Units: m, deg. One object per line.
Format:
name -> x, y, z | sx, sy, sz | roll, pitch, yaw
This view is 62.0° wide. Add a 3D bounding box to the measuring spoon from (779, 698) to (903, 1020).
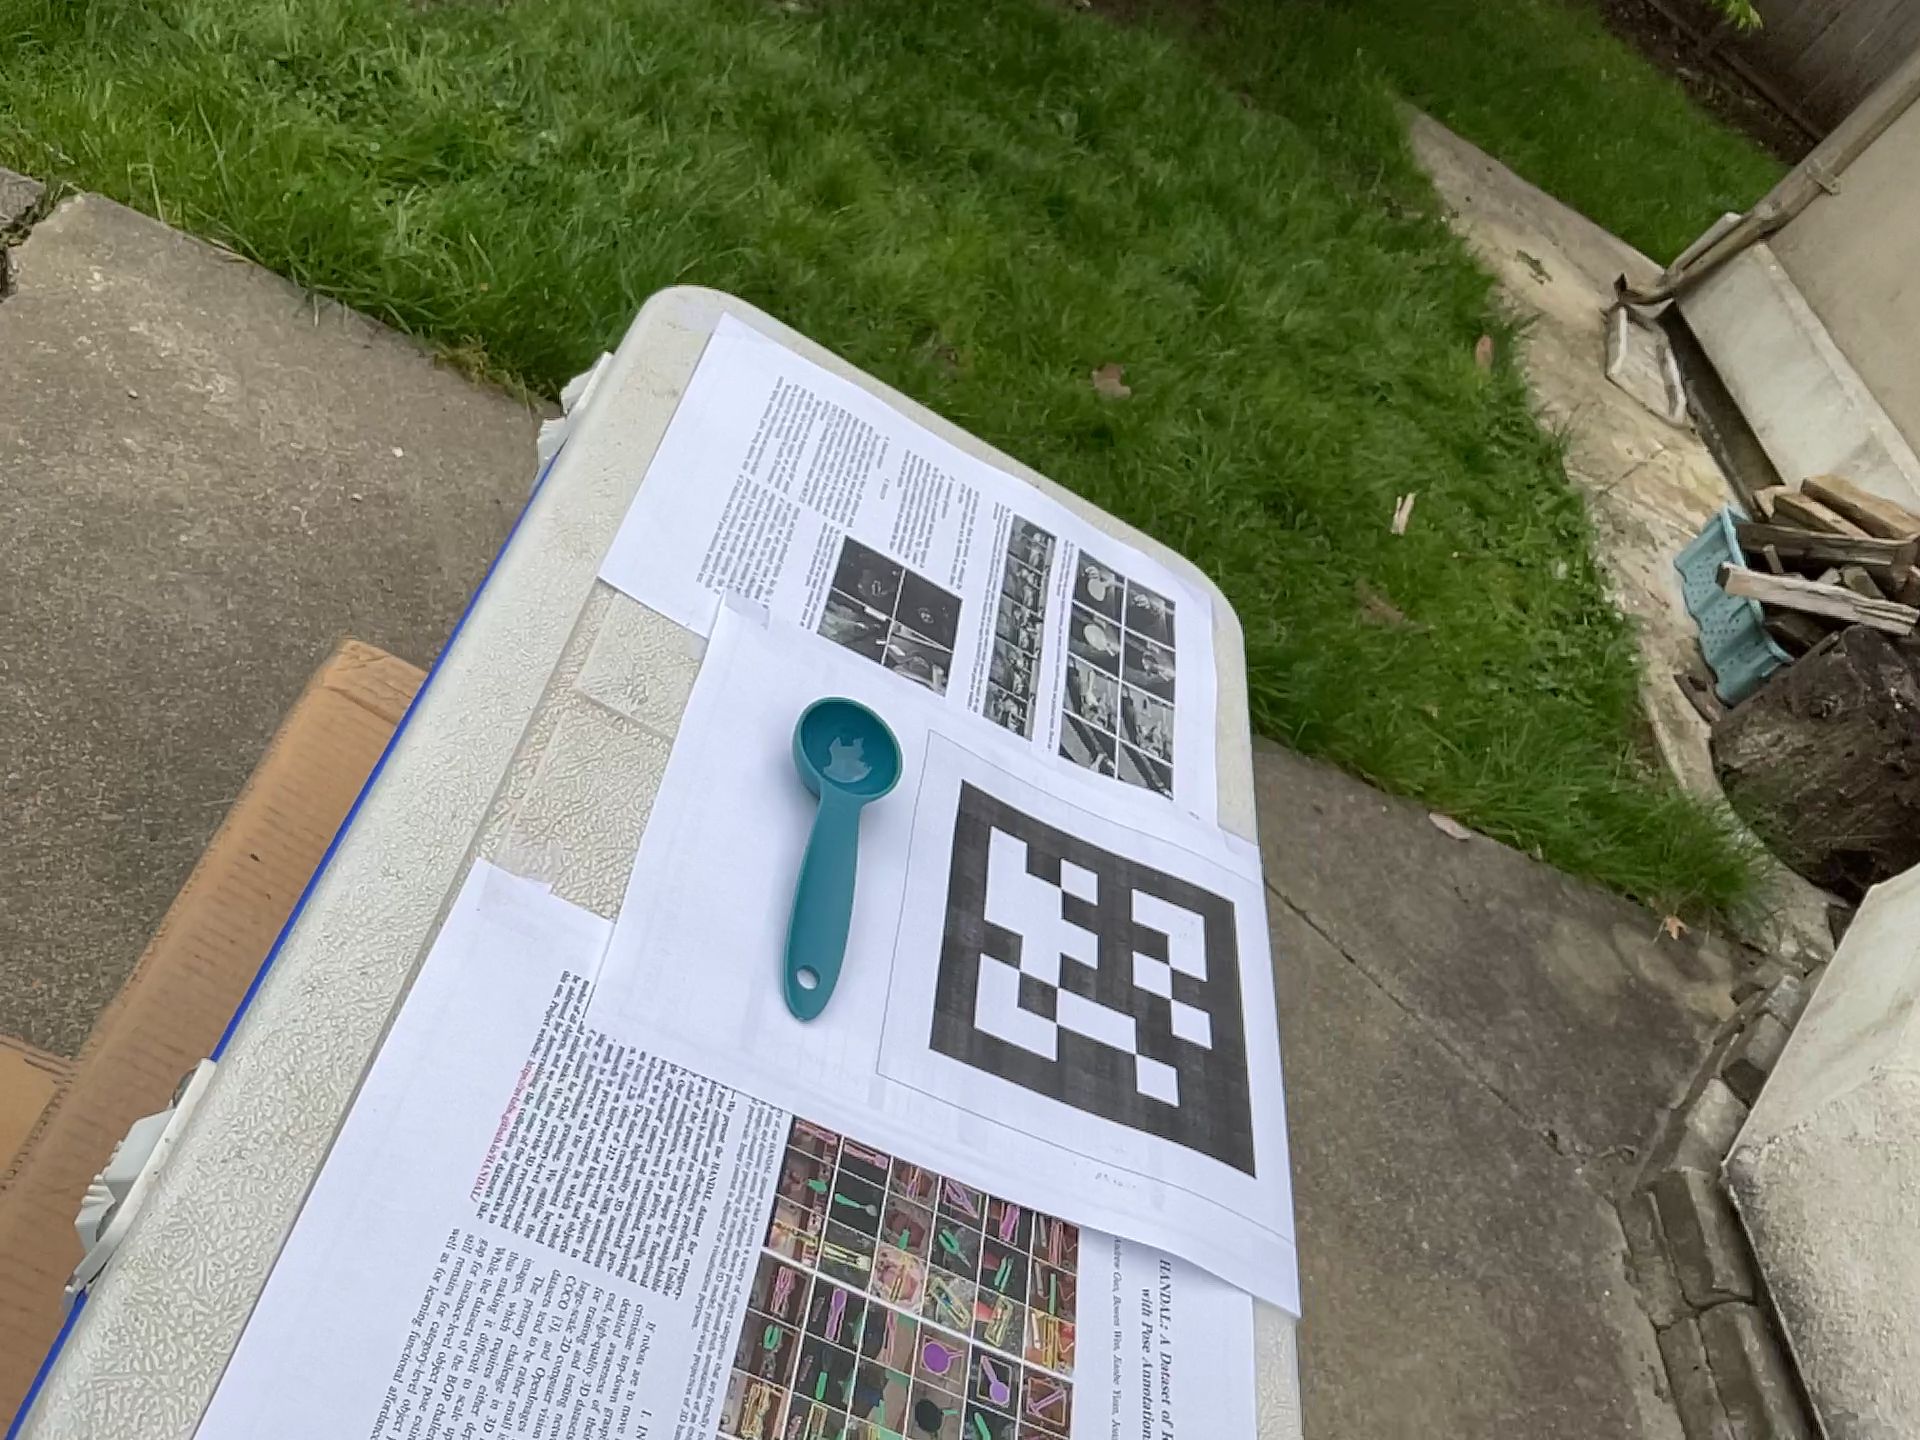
measuring spoon -> -0.048, 0.048, 0.547 | 0.042, 0.021, 0.129 | 24, 48, -19
